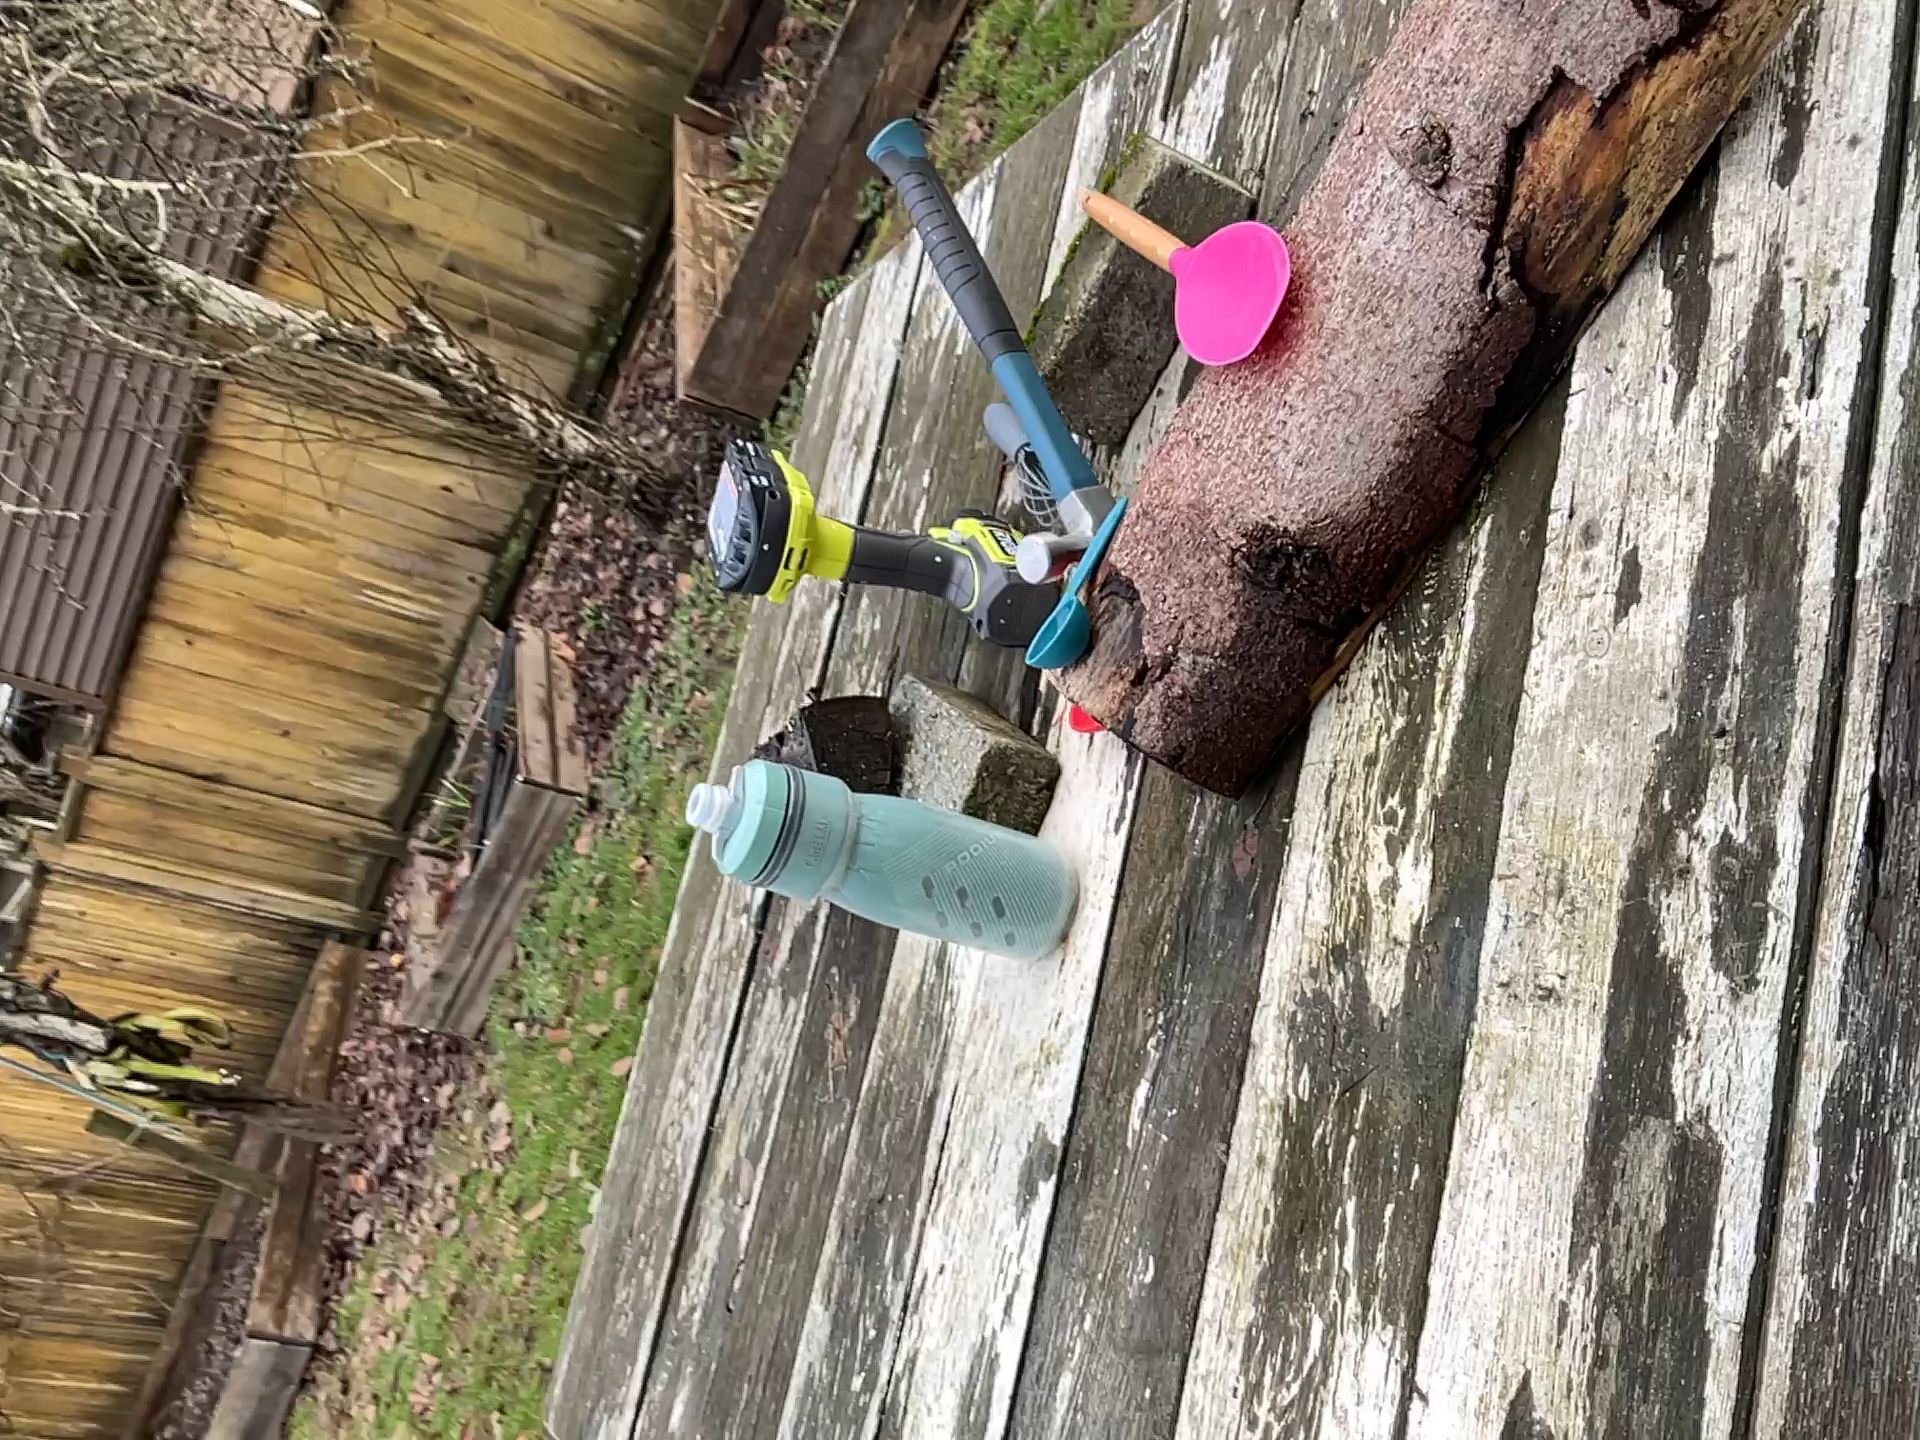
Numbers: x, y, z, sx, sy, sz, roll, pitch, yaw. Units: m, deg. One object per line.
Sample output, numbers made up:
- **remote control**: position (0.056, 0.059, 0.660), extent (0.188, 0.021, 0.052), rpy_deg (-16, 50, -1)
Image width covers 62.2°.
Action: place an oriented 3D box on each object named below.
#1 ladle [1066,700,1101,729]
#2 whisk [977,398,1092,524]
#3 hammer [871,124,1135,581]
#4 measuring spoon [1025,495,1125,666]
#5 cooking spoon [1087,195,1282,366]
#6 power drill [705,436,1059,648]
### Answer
- **ladle**: position (0.138, -0.137, 0.940), extent (0.315, 0.031, 0.069), rpy_deg (-68, 22, 3)
- **whisk**: position (0.045, -0.195, 1.140), extent (0.055, 0.055, 0.239), rpy_deg (-56, 24, 14)
- **hammer**: position (0.026, -0.240, 1.009), extent (0.033, 0.128, 0.331), rpy_deg (-40, 71, 46)
- **measuring spoon**: position (0.071, -0.074, 0.851), extent (0.042, 0.021, 0.129), rpy_deg (-38, 19, 52)
- **cooking spoon**: position (0.115, -0.256, 0.877), extent (0.068, 0.017, 0.319), rpy_deg (-63, 21, 21)
- **power drill**: position (-0.057, -0.124, 1.106), extent (0.171, 0.223, 0.080), rpy_deg (-117, 43, -60)
